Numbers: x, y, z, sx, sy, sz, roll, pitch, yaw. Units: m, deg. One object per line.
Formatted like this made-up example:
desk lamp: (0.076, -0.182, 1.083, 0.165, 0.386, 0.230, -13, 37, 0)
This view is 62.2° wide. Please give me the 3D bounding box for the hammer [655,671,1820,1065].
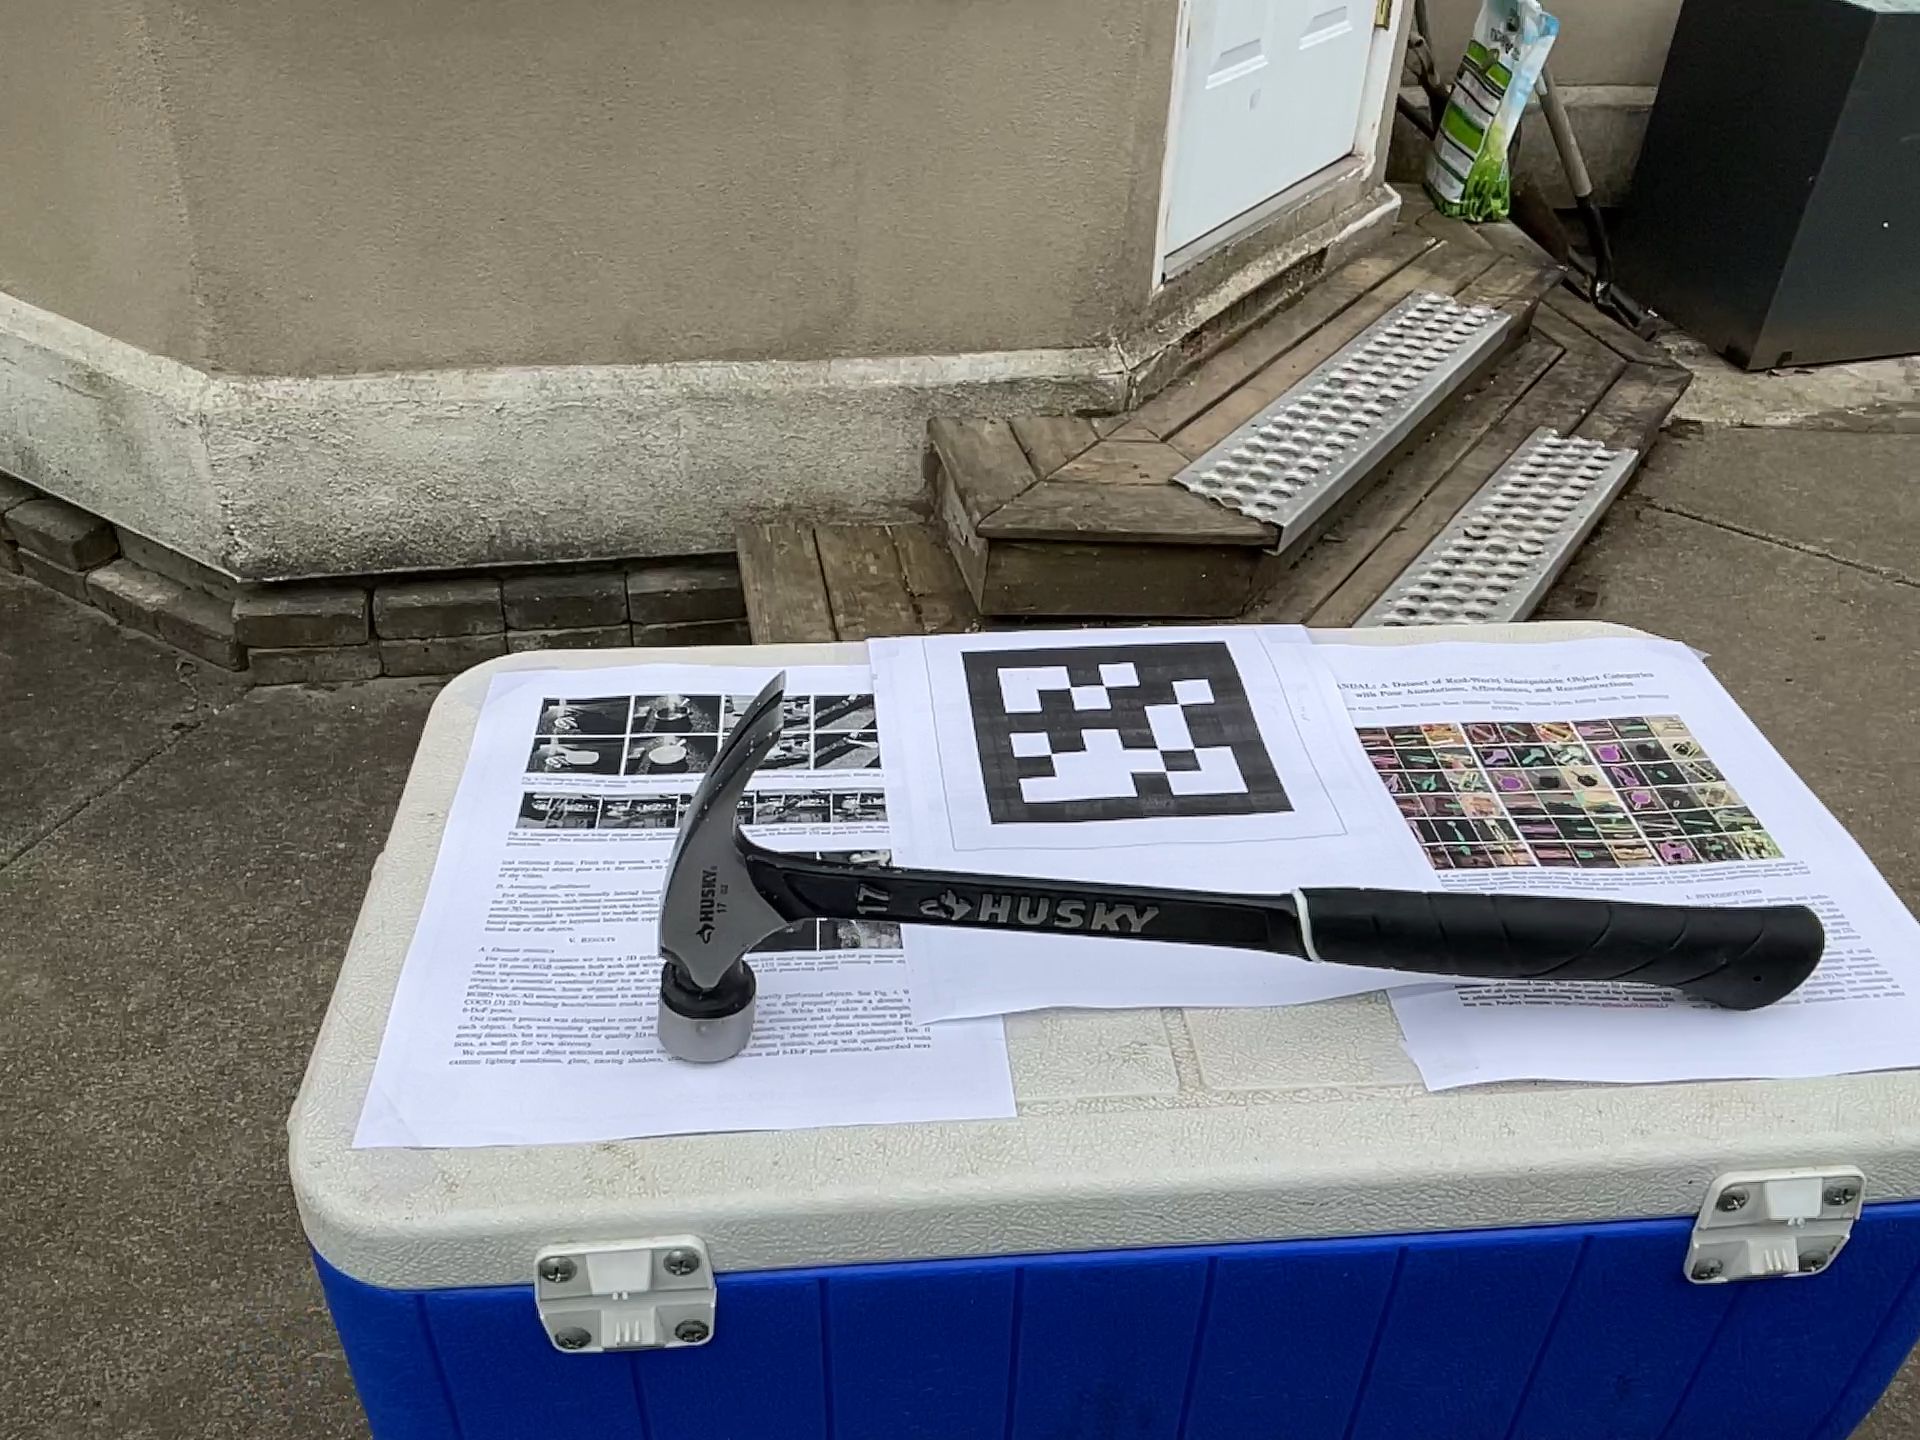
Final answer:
hammer: (0.102, 0.066, 0.551, 0.408, 0.149, 0.036, 4, 35, -8)
